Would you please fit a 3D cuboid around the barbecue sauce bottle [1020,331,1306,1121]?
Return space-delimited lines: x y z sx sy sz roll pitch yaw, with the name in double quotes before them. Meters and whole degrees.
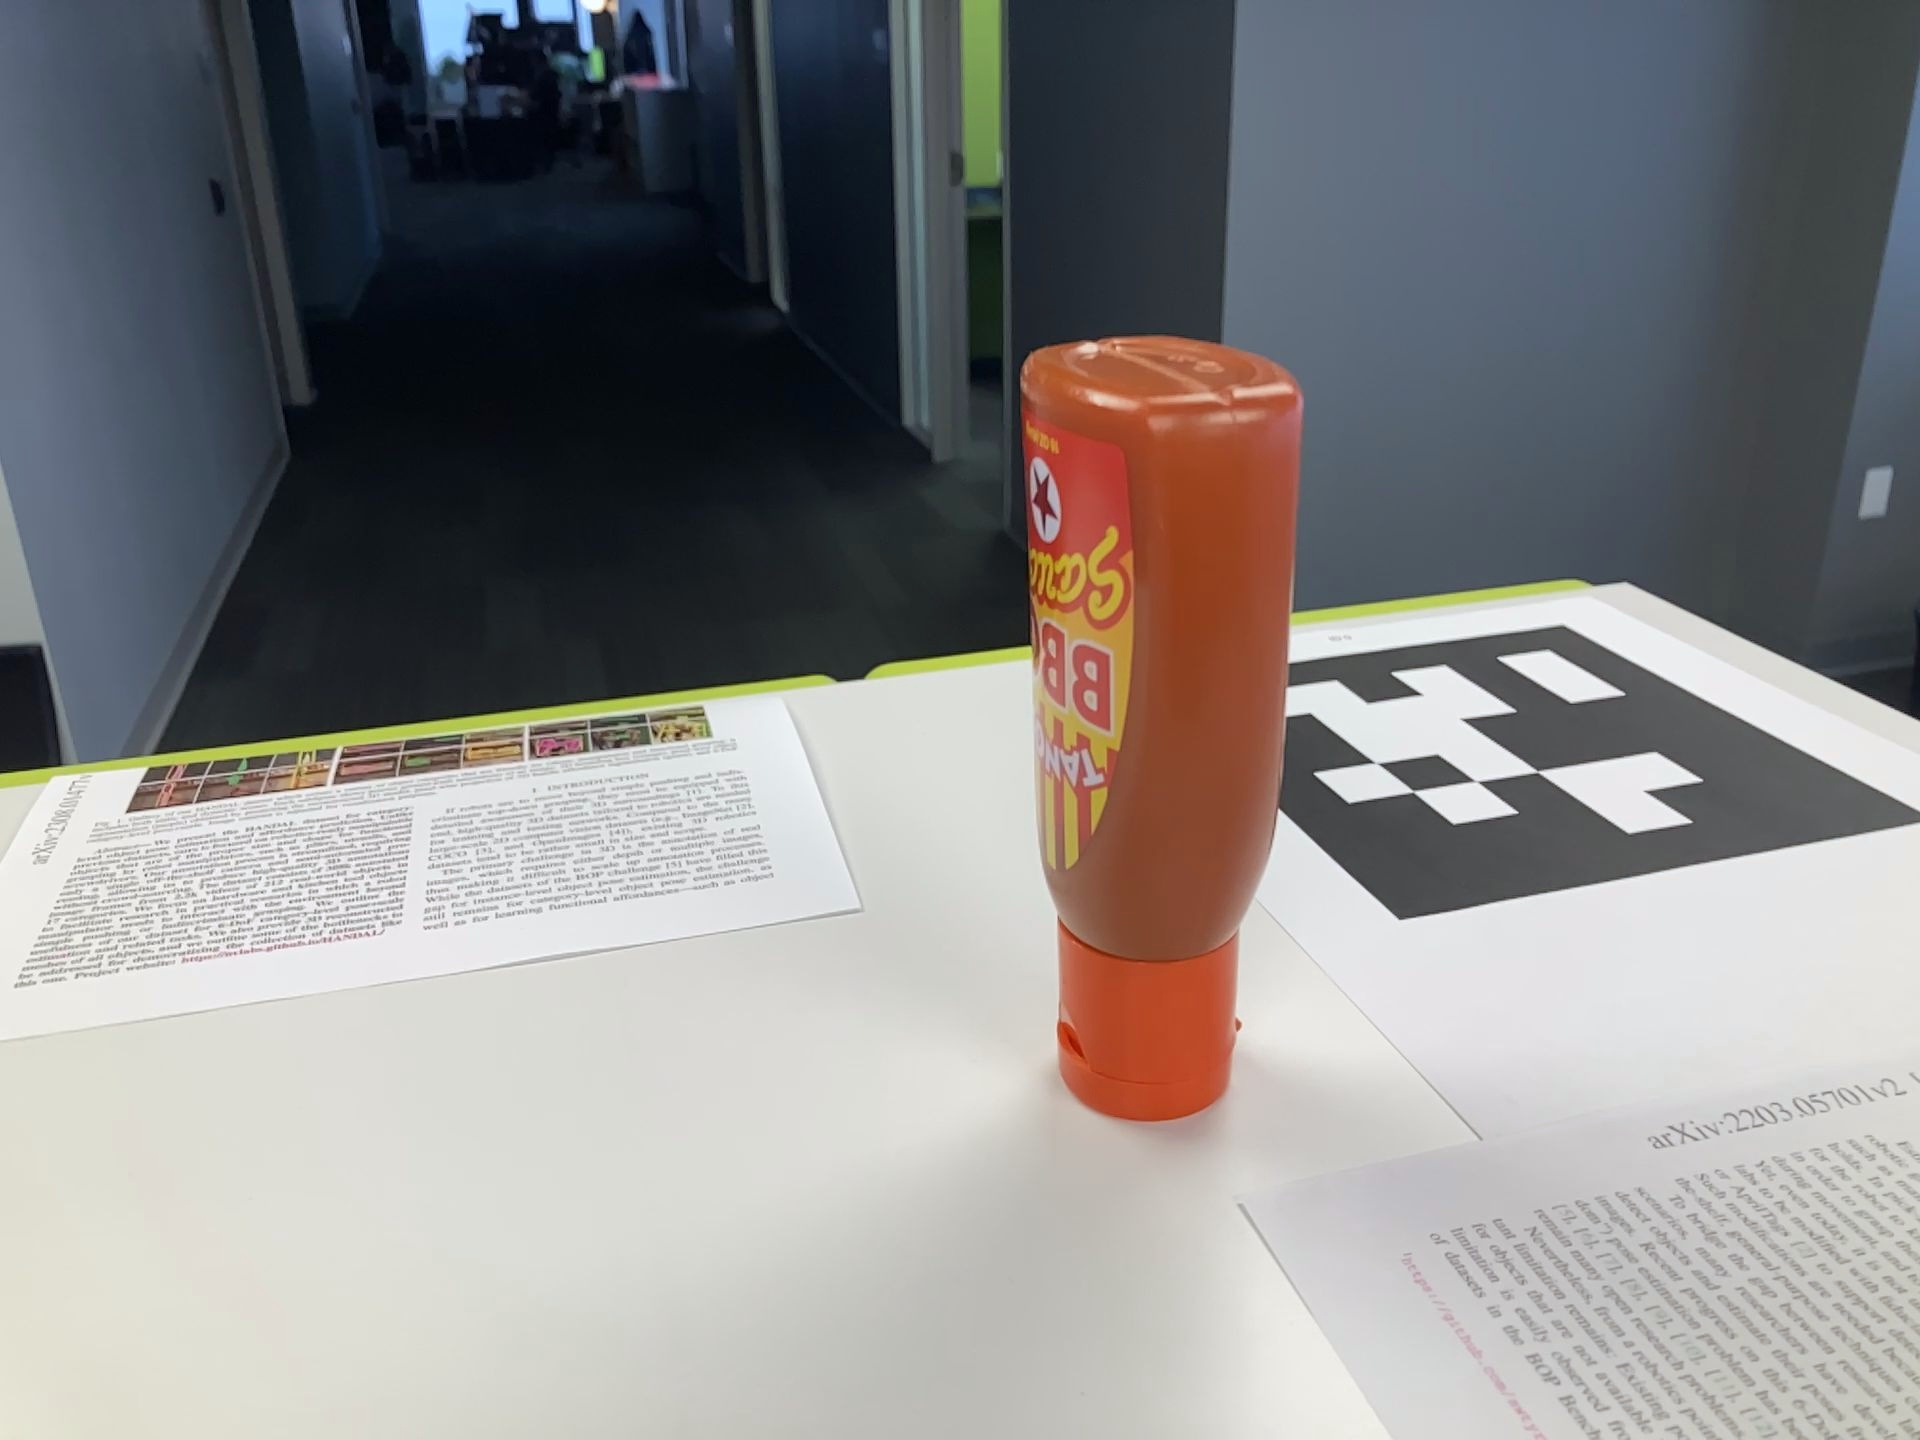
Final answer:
"barbecue sauce bottle" 0.037 0.005 0.303 0.043 0.148 0.065 -9 24 -15
